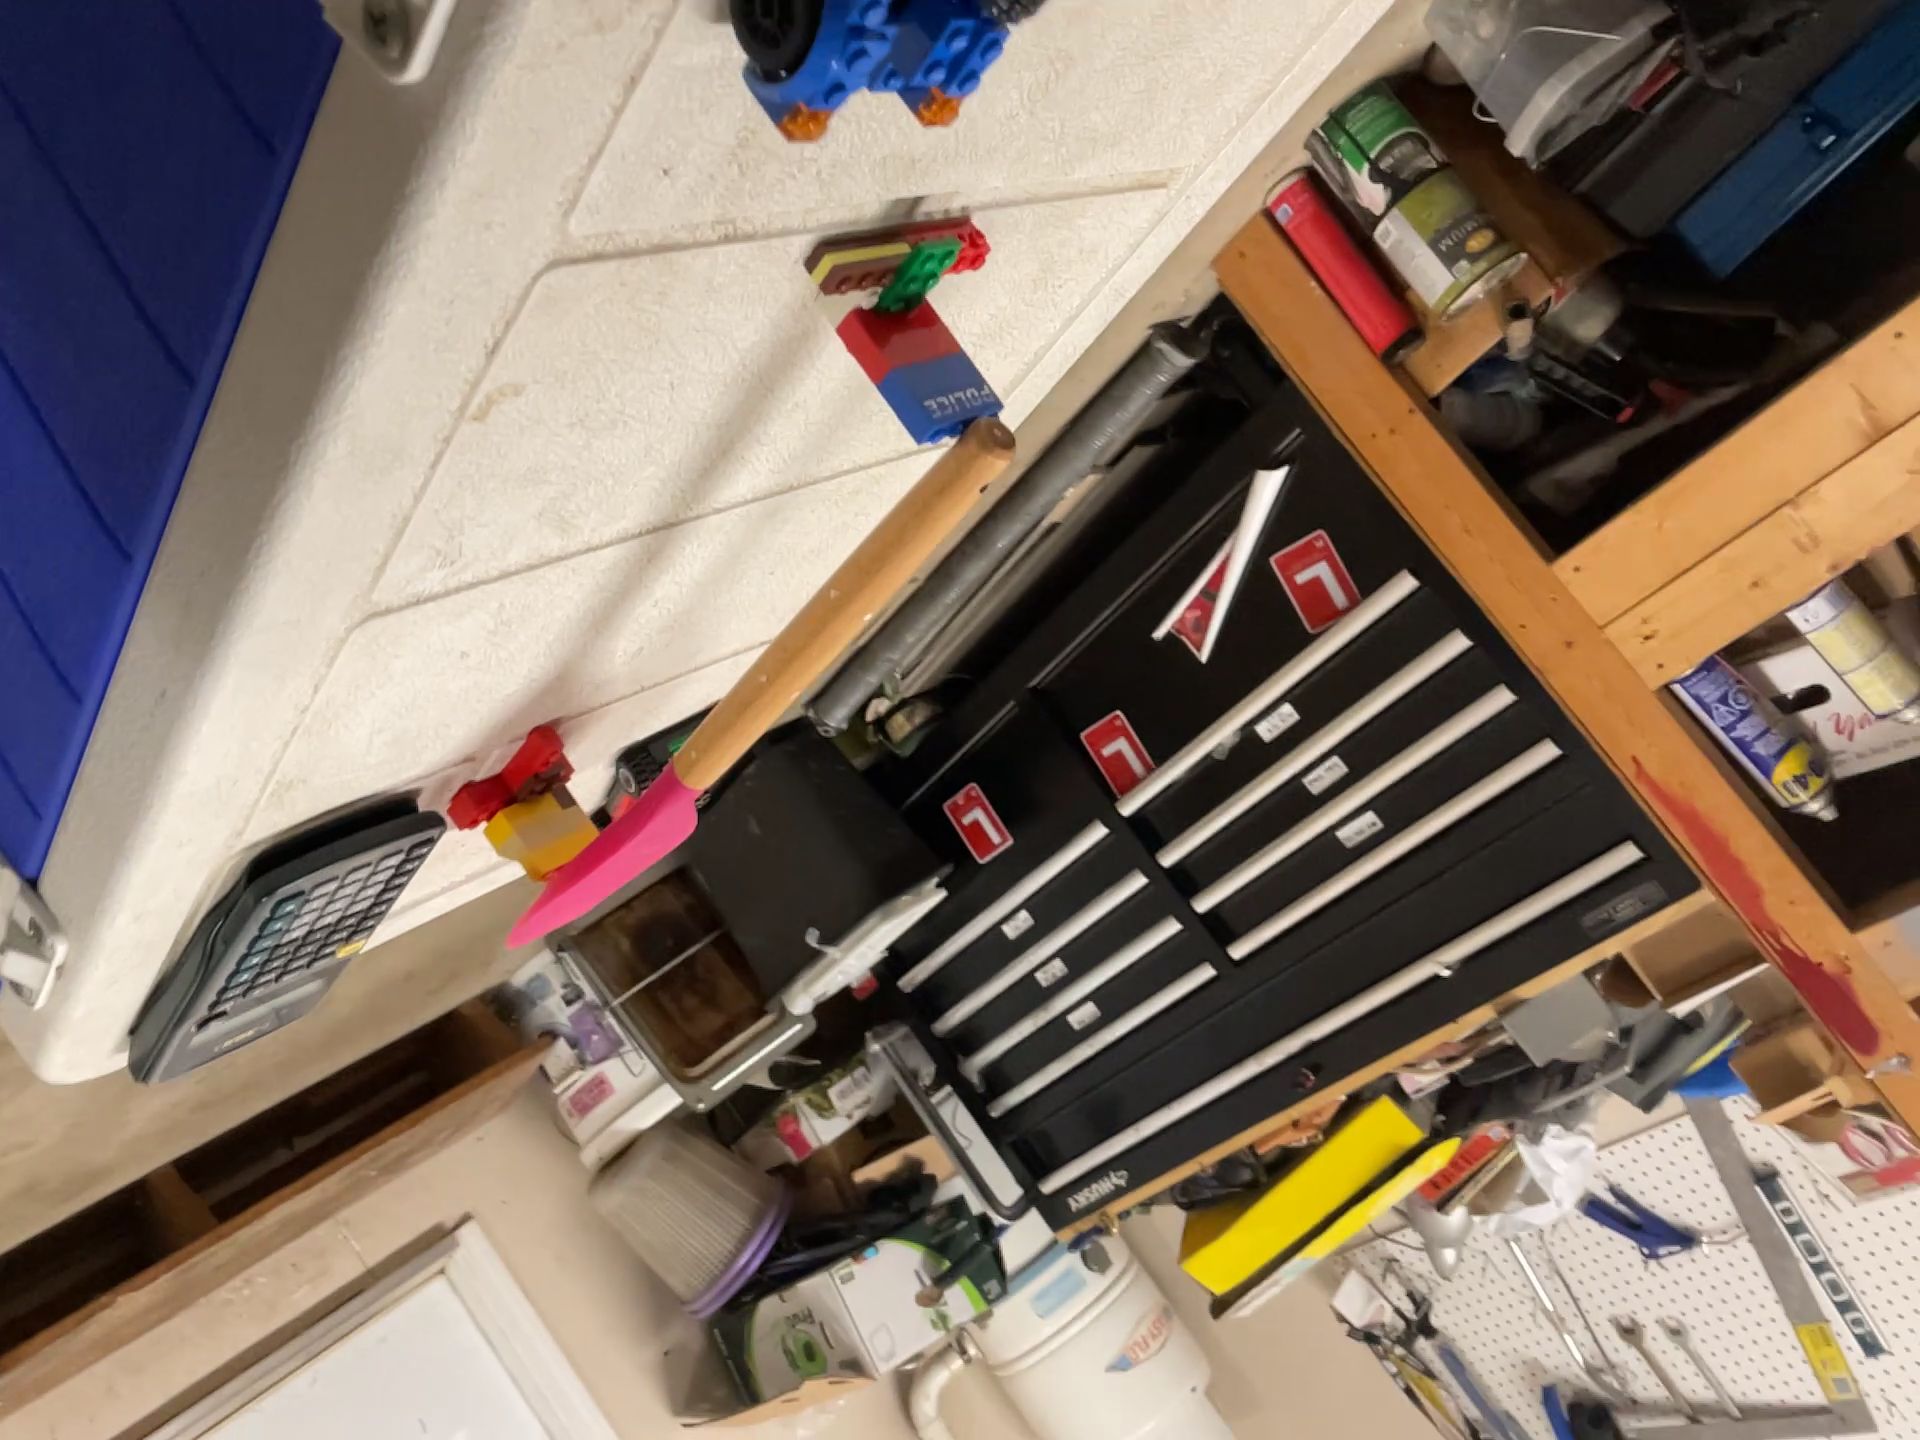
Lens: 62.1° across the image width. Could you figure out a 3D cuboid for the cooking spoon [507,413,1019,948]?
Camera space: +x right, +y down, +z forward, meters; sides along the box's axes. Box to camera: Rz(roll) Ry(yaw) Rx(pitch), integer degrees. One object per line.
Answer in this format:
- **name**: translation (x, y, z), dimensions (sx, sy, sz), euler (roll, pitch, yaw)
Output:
- **cooking spoon**: translation (-0.076, 0.003, 0.522), dimensions (0.069, 0.017, 0.318), euler (-28, 170, -47)
